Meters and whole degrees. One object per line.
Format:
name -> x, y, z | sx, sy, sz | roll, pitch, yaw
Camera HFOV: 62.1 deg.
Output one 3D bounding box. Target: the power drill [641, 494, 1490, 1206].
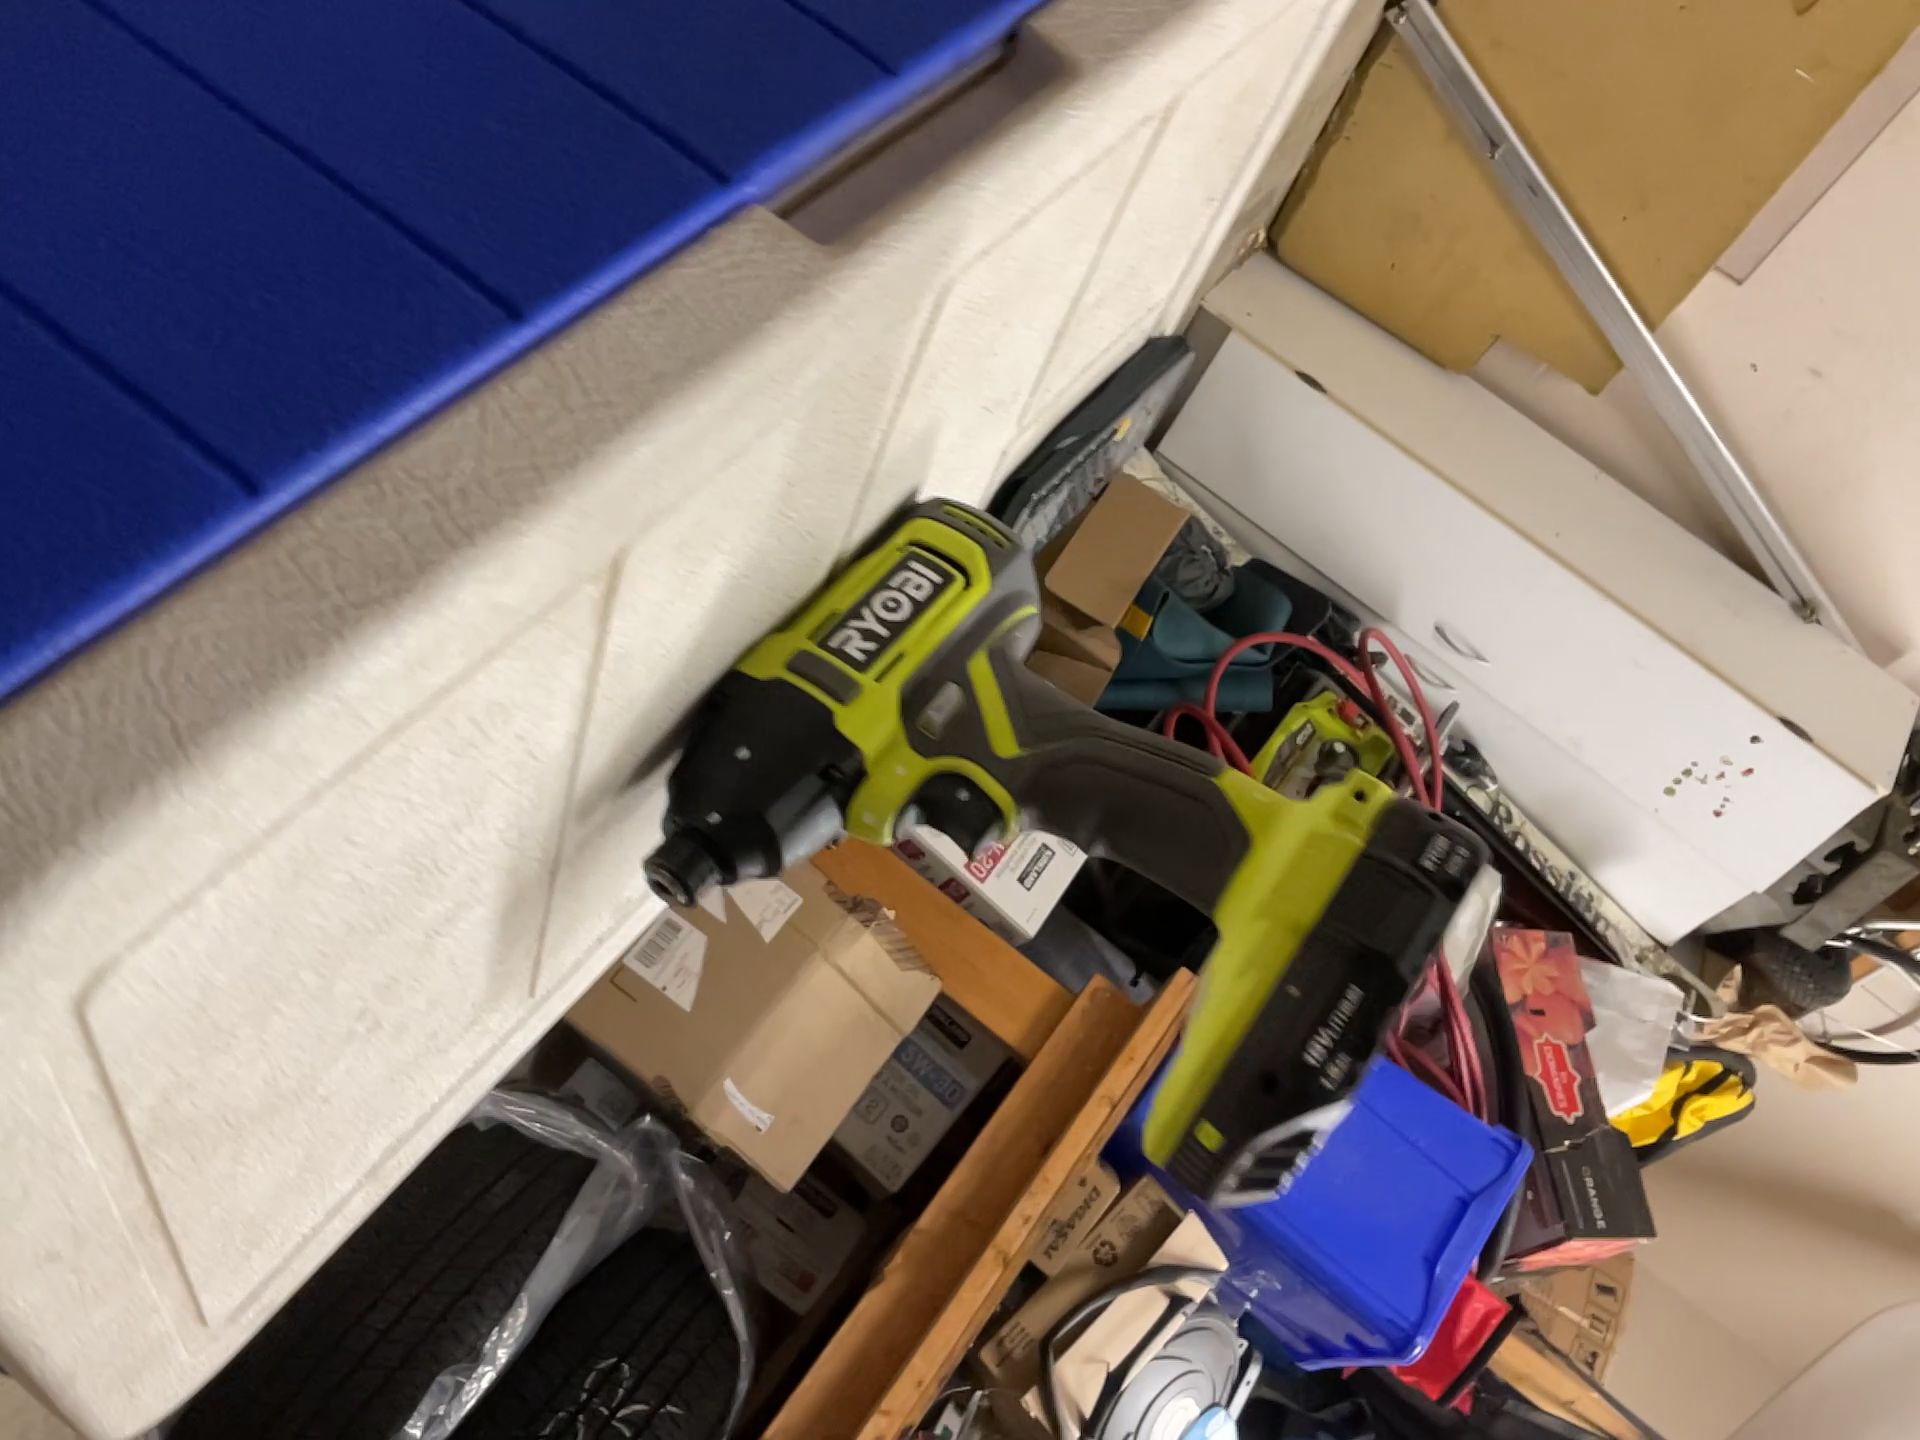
power drill -> 0.028, 0.039, 0.492 | 0.171, 0.223, 0.080 | -49, 162, -34
